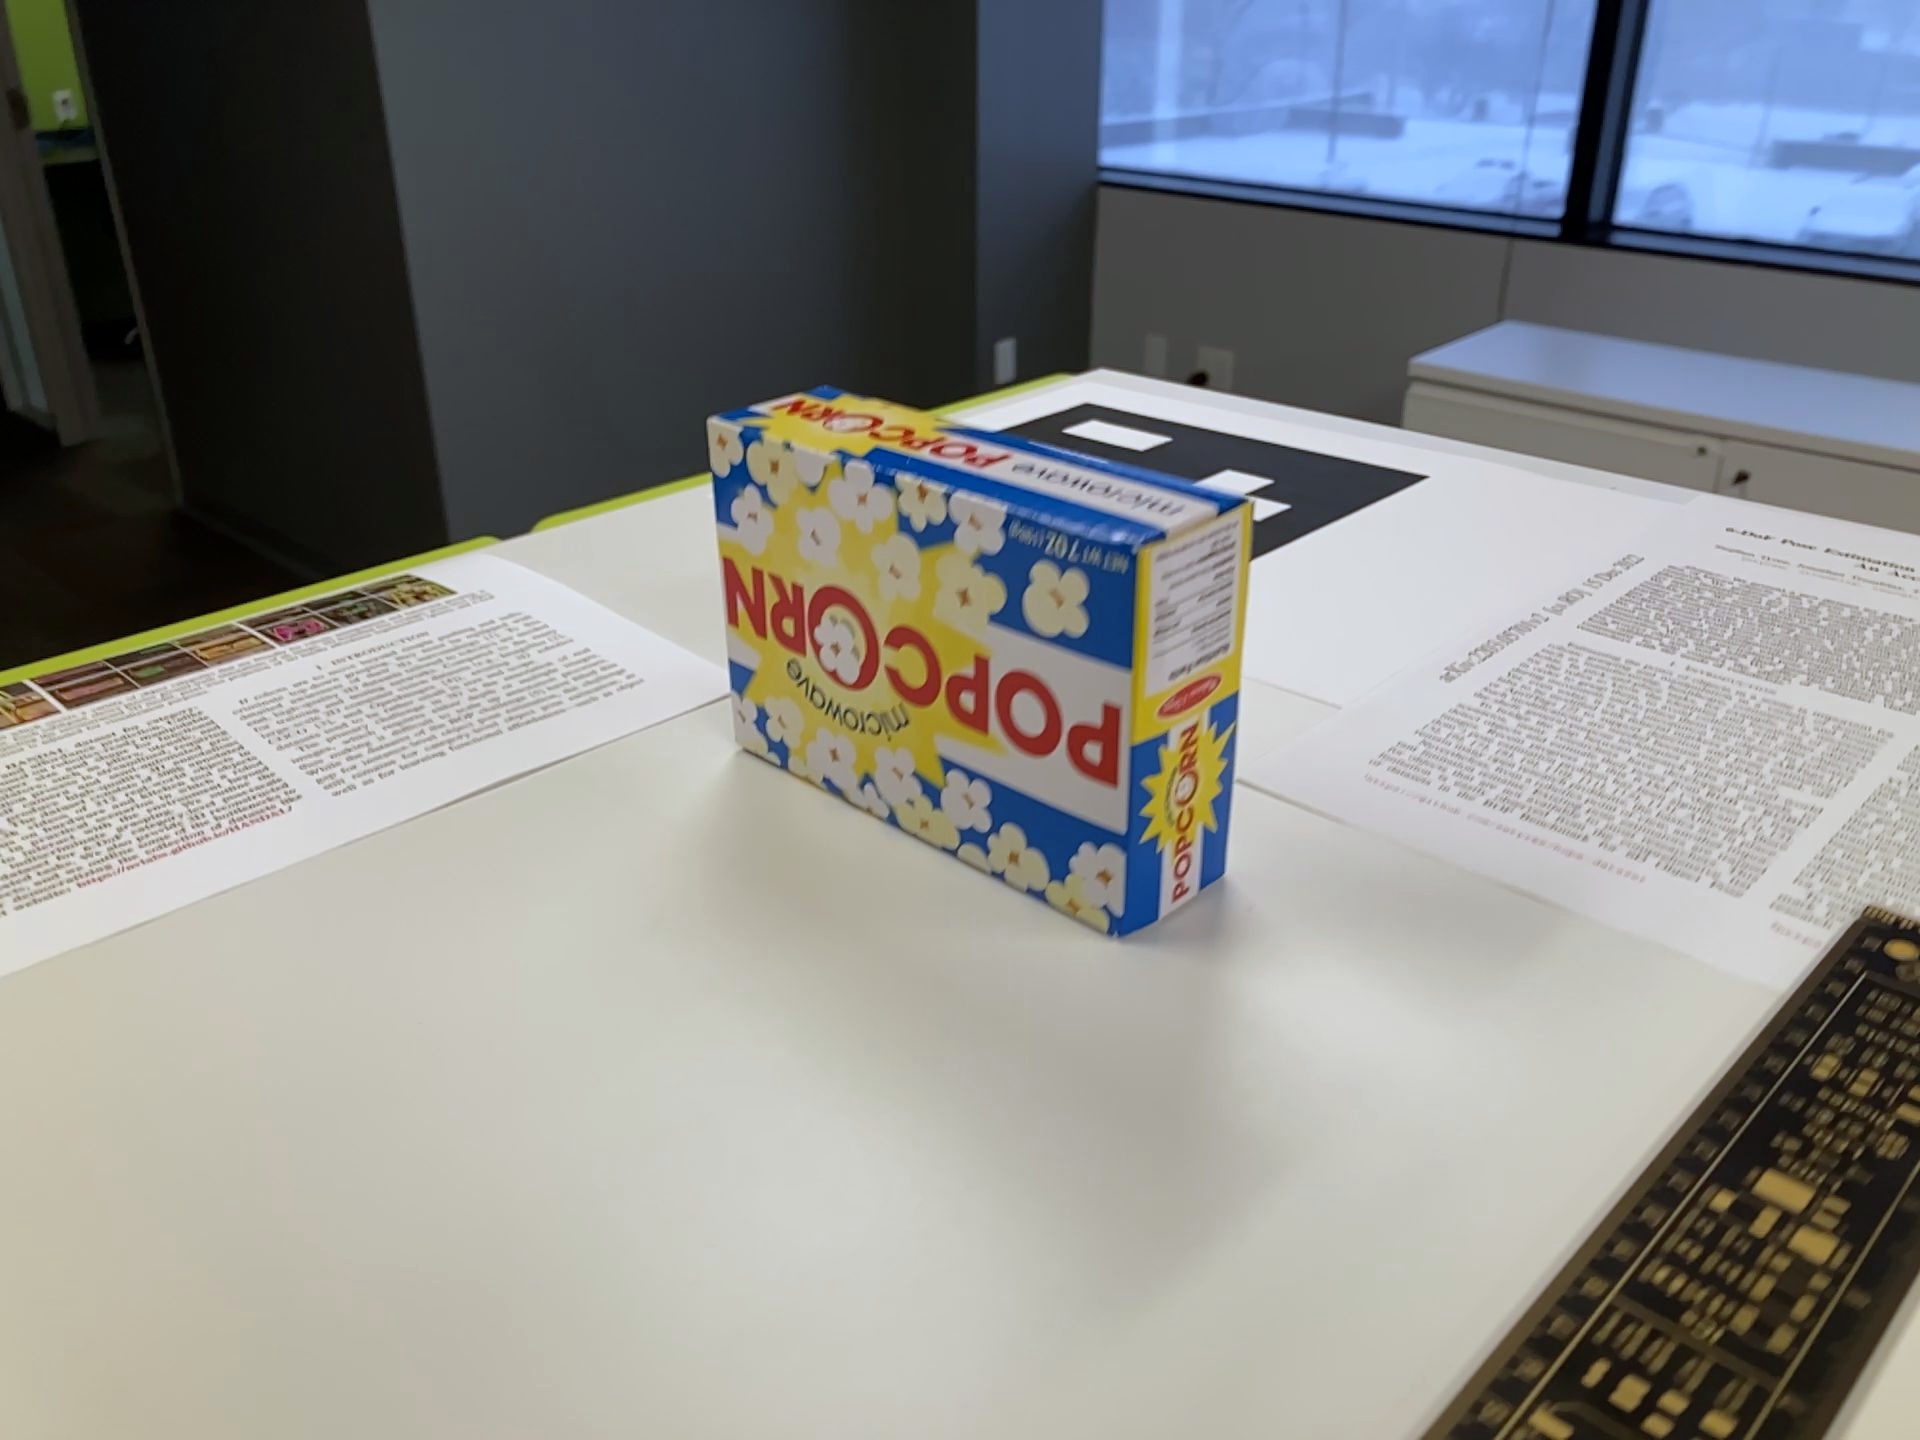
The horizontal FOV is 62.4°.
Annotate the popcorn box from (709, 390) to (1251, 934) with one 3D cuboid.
[{"bbox_3d":[0.000,-0.018,0.348,0.126,0.085,0.038,23,35,39],"label":"popcorn box"}]
